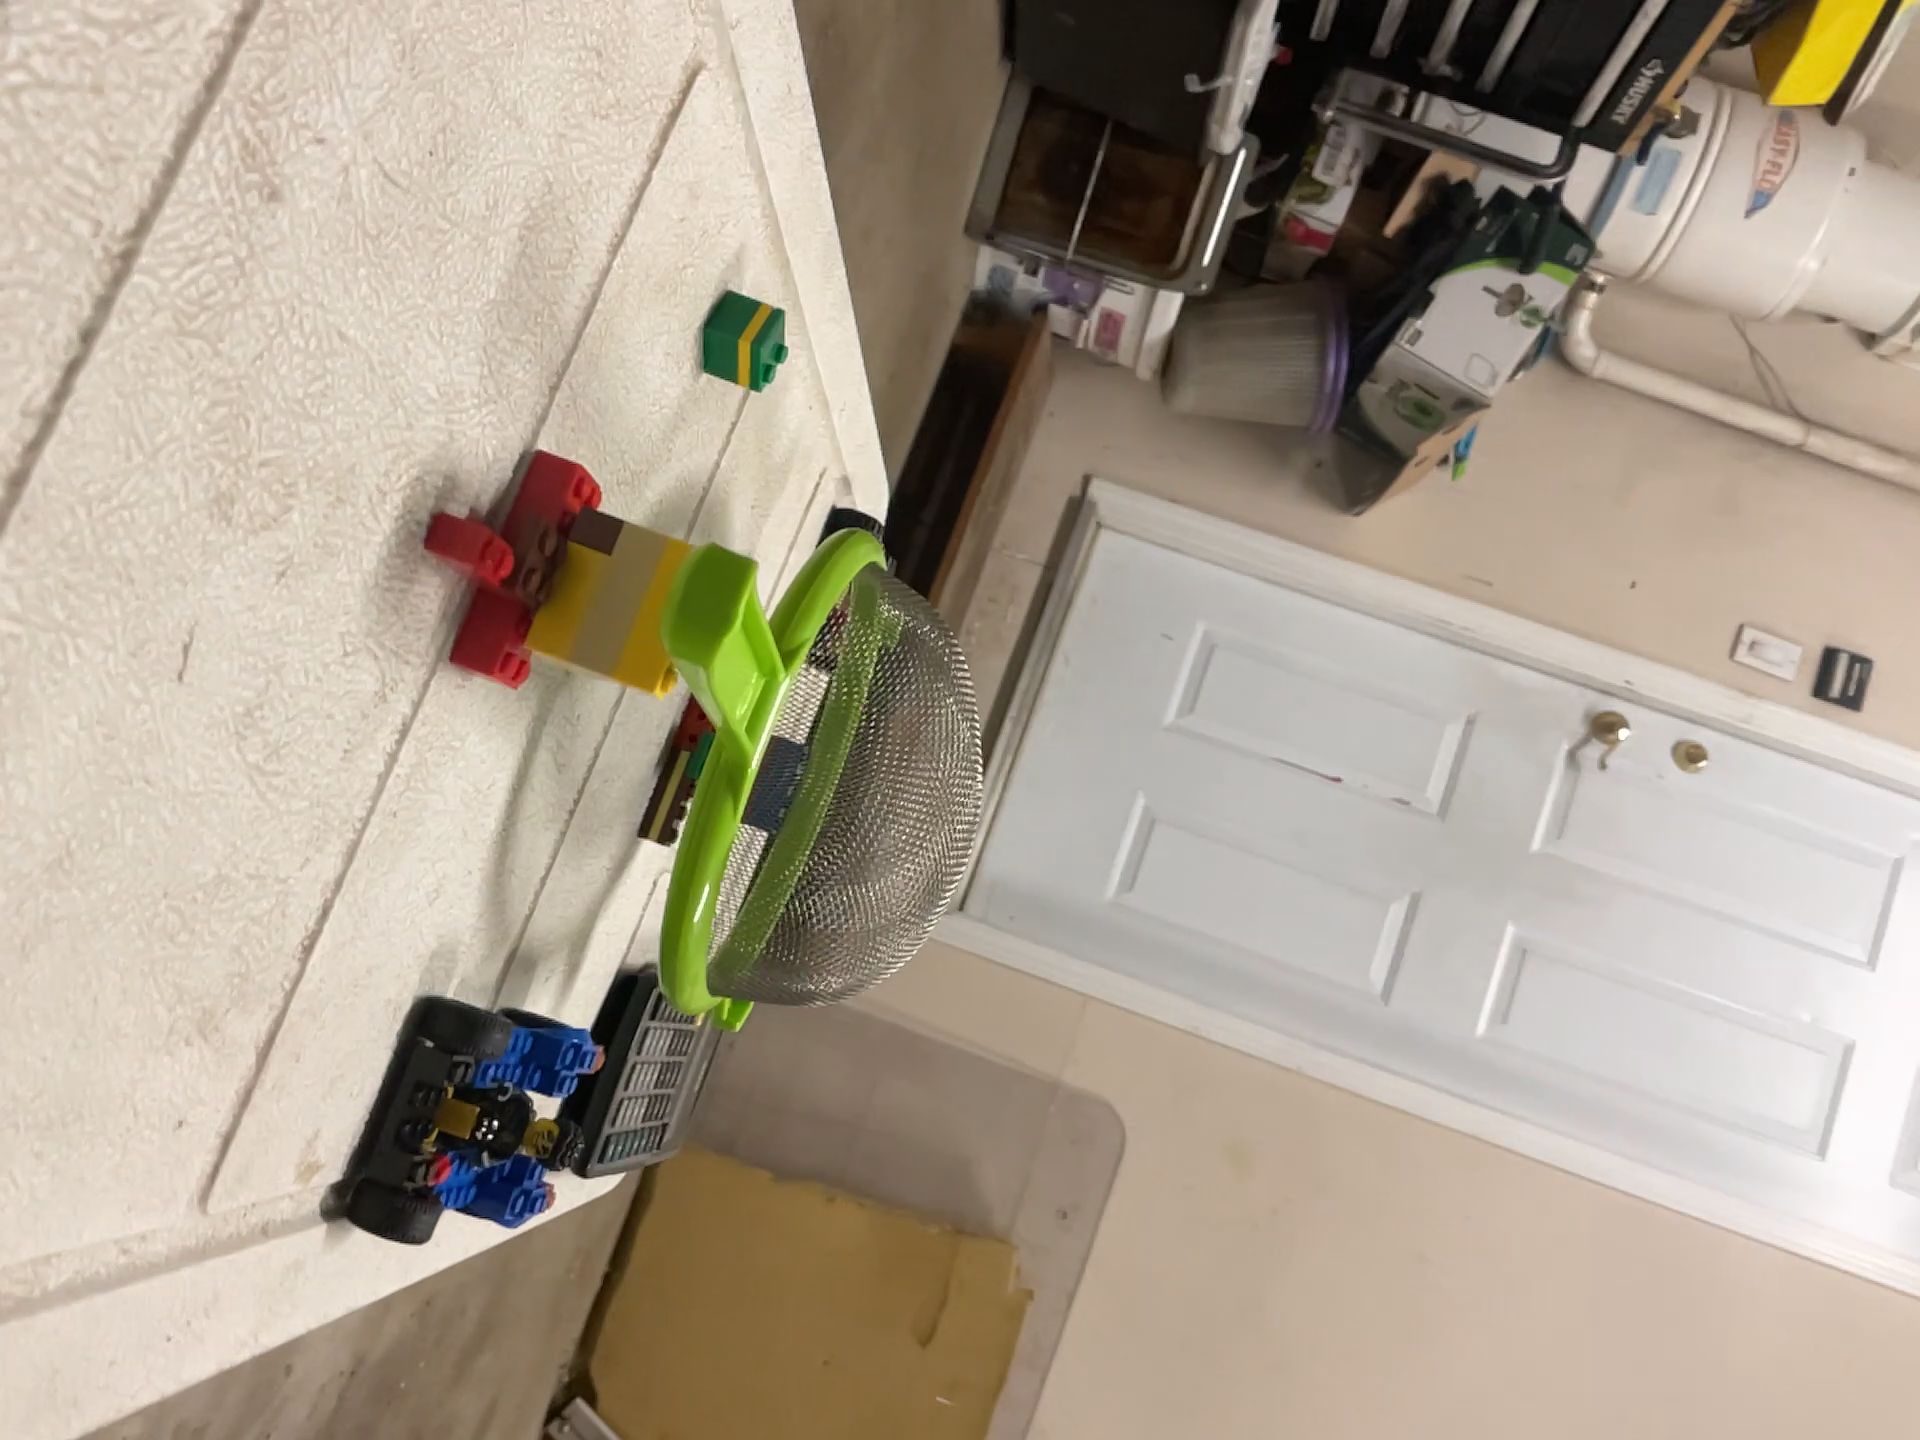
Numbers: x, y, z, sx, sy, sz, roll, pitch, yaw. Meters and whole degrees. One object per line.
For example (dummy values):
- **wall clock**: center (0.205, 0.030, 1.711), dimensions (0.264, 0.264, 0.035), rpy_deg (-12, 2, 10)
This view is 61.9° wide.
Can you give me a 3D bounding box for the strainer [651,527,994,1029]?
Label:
- **strainer**: center (-0.028, 0.013, 0.420), dimensions (0.256, 0.069, 0.151), rpy_deg (95, 17, -77)
